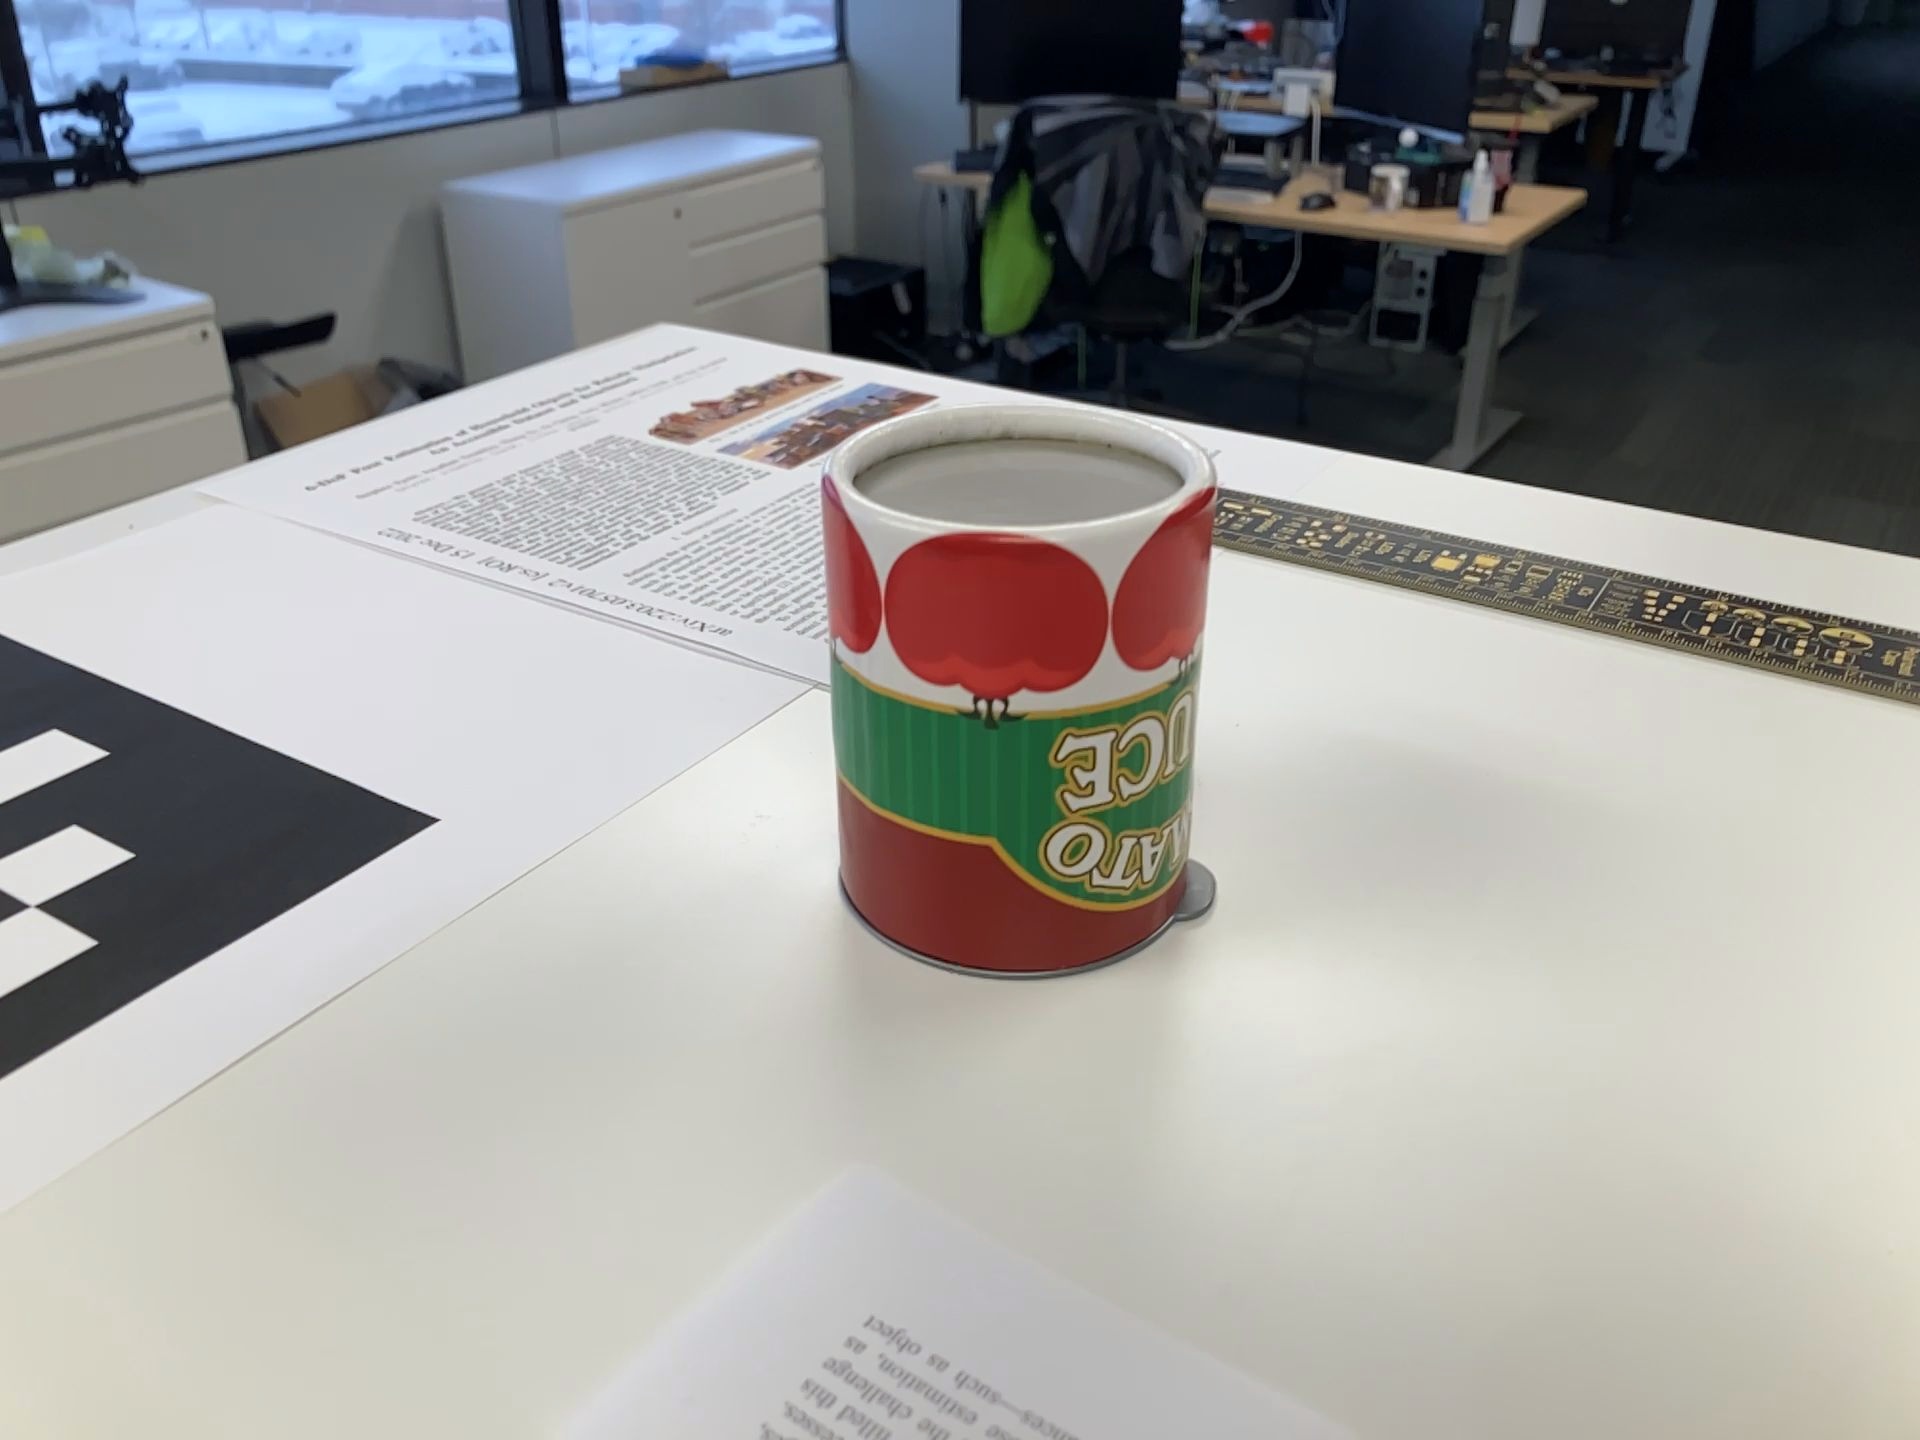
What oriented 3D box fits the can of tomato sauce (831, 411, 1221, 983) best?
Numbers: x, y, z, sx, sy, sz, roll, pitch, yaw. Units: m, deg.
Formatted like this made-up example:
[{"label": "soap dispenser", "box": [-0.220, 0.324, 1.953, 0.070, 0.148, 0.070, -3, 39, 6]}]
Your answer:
[{"label": "can of tomato sauce", "box": [0.011, -0.006, 0.284, 0.071, 0.083, 0.071, 1, 27, -1]}]
